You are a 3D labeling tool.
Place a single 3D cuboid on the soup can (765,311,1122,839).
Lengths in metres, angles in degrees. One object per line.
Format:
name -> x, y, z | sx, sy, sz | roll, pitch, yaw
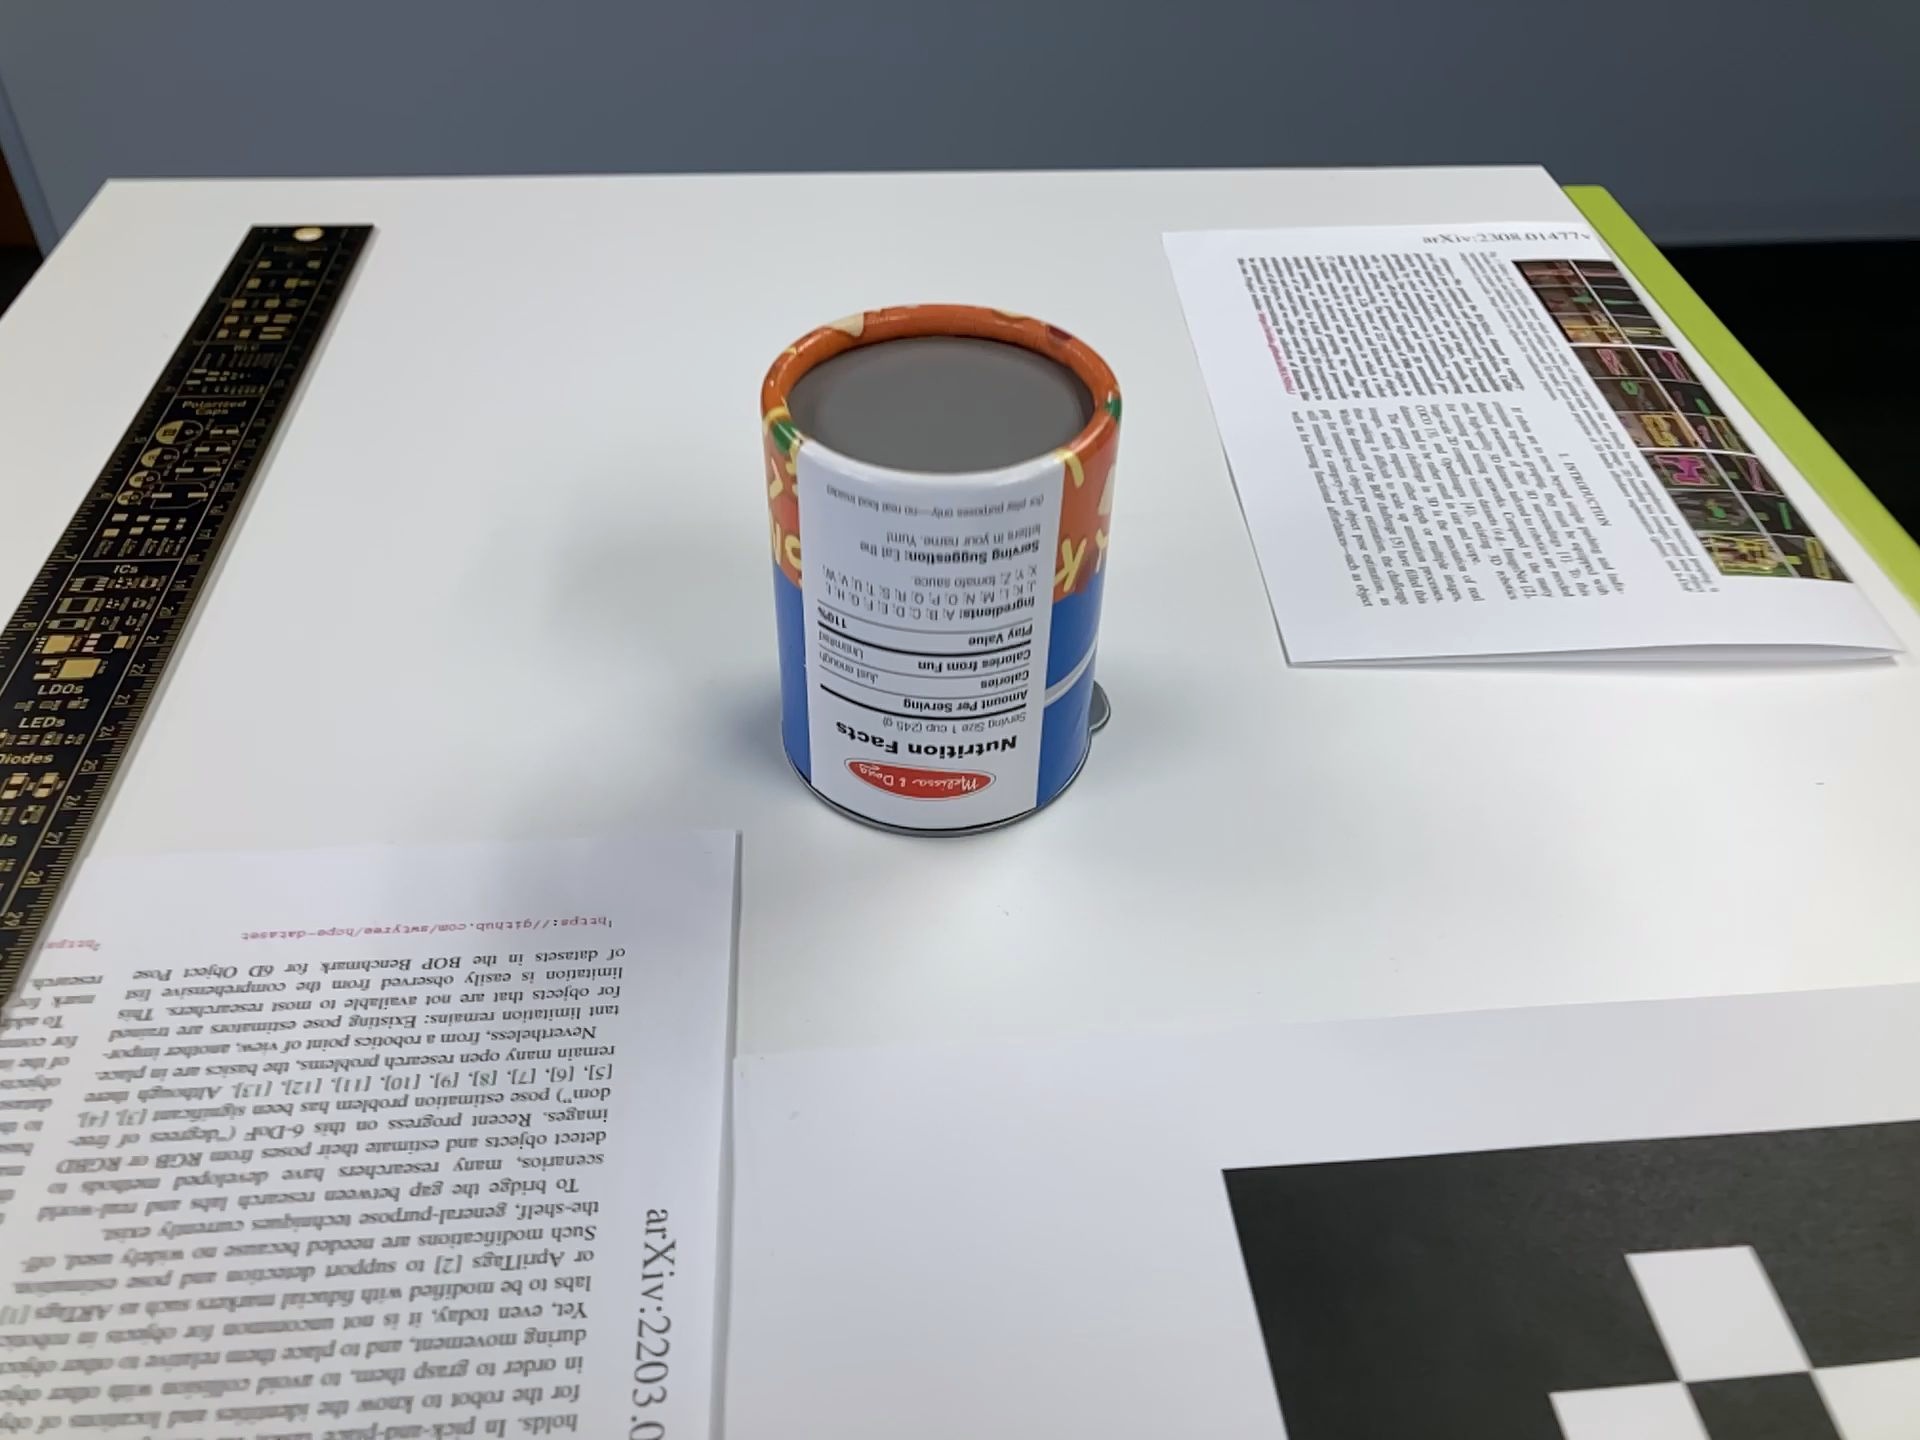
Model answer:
soup can -> -0.004, -0.031, 0.318 | 0.071, 0.084, 0.071 | 1, 41, -1
